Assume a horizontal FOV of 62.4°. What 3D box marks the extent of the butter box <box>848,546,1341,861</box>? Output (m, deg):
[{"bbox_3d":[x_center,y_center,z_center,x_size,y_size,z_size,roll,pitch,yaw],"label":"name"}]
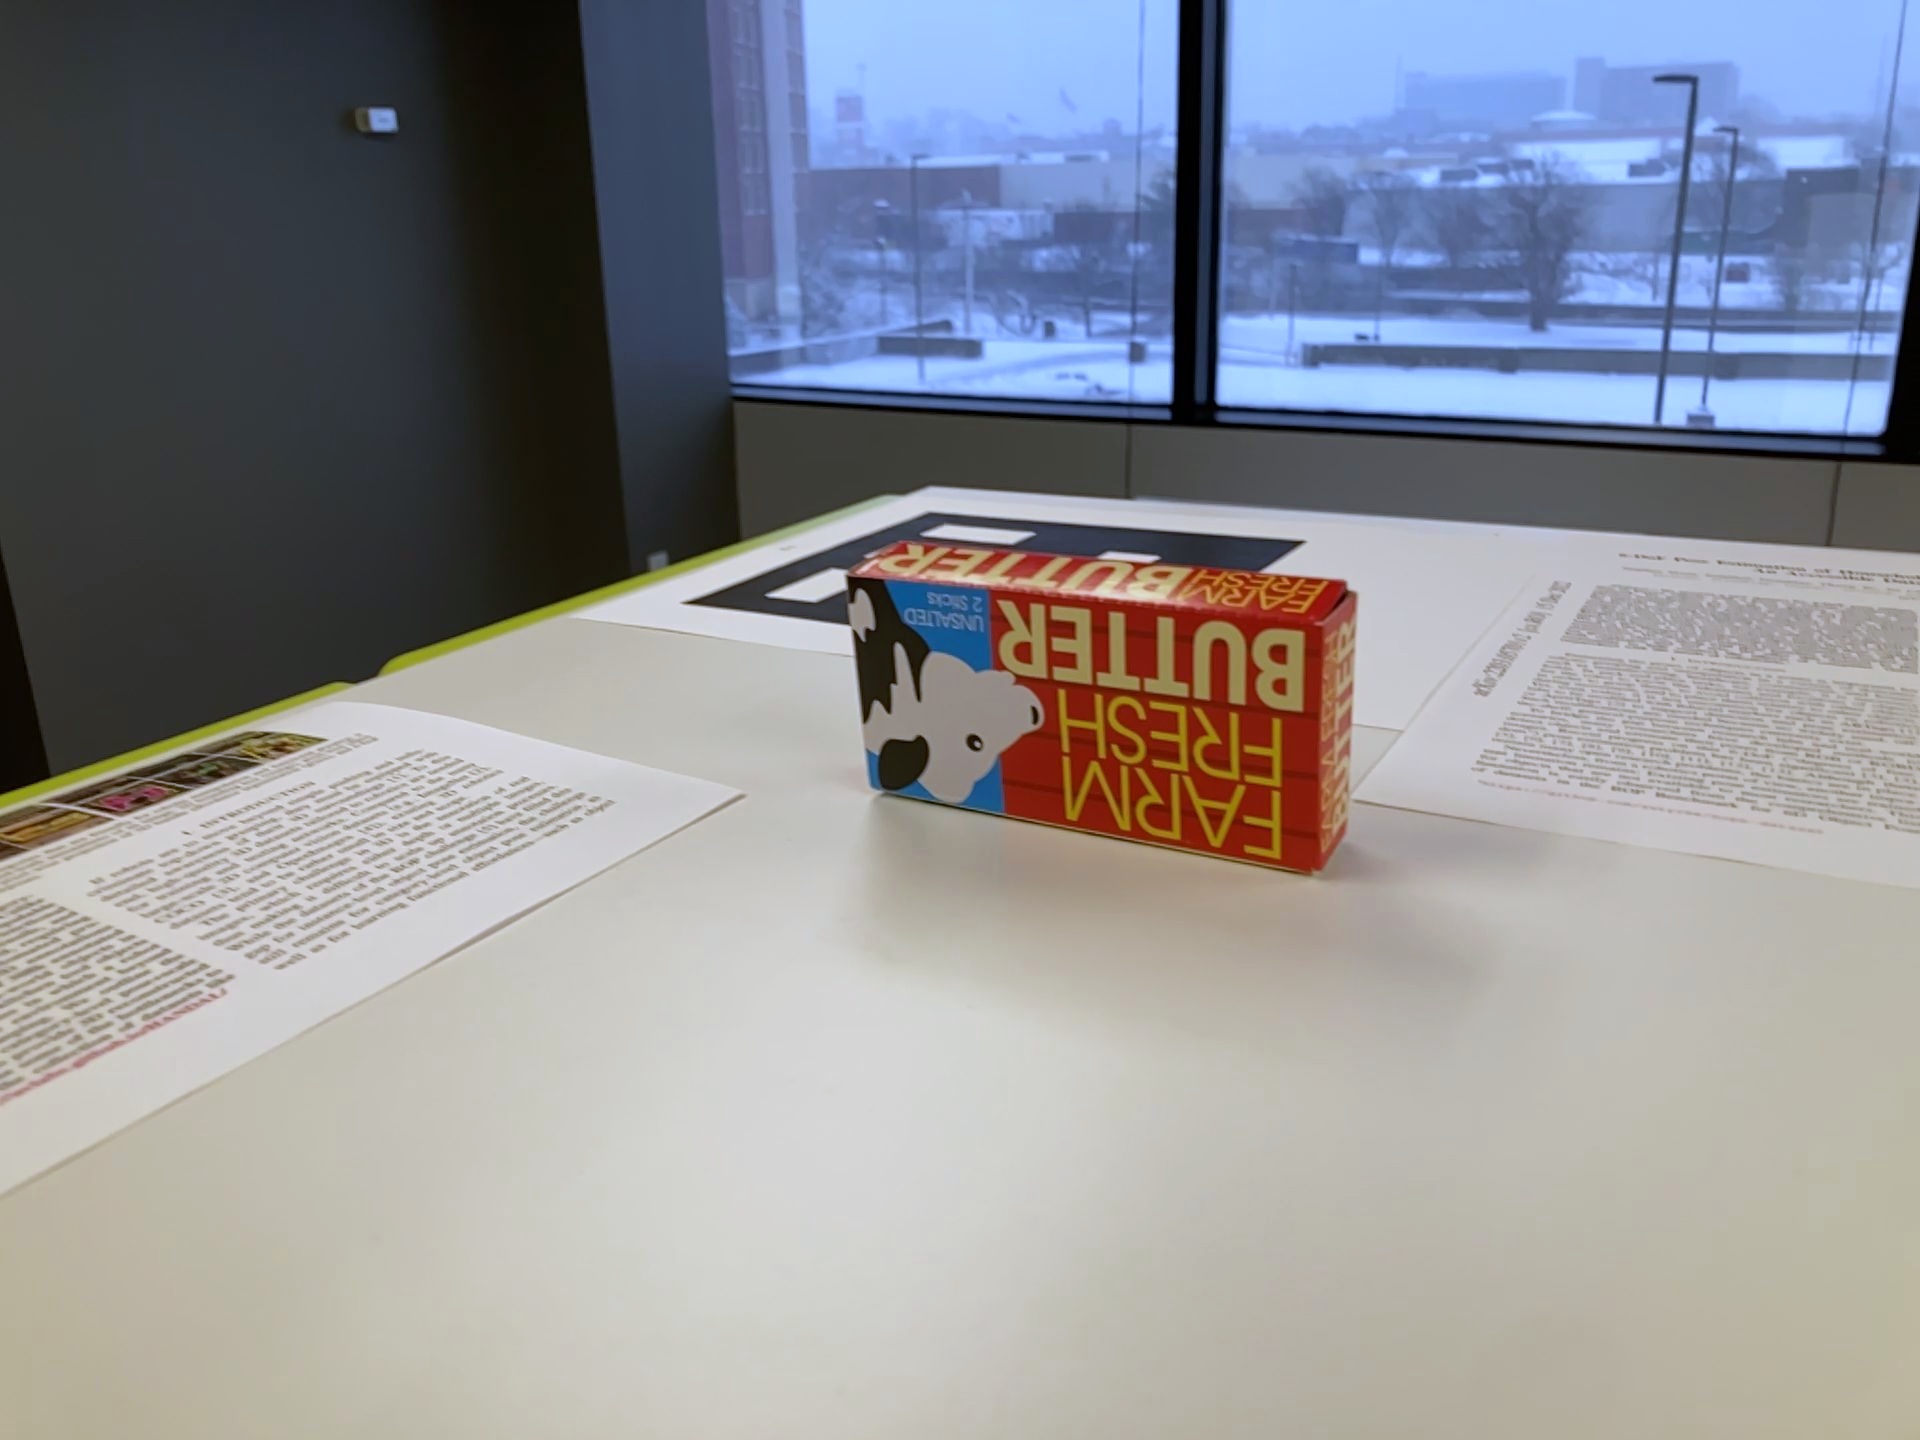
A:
[{"bbox_3d":[0.027,-0.005,0.334,0.103,0.053,0.024,8,25,29],"label":"butter box"}]
